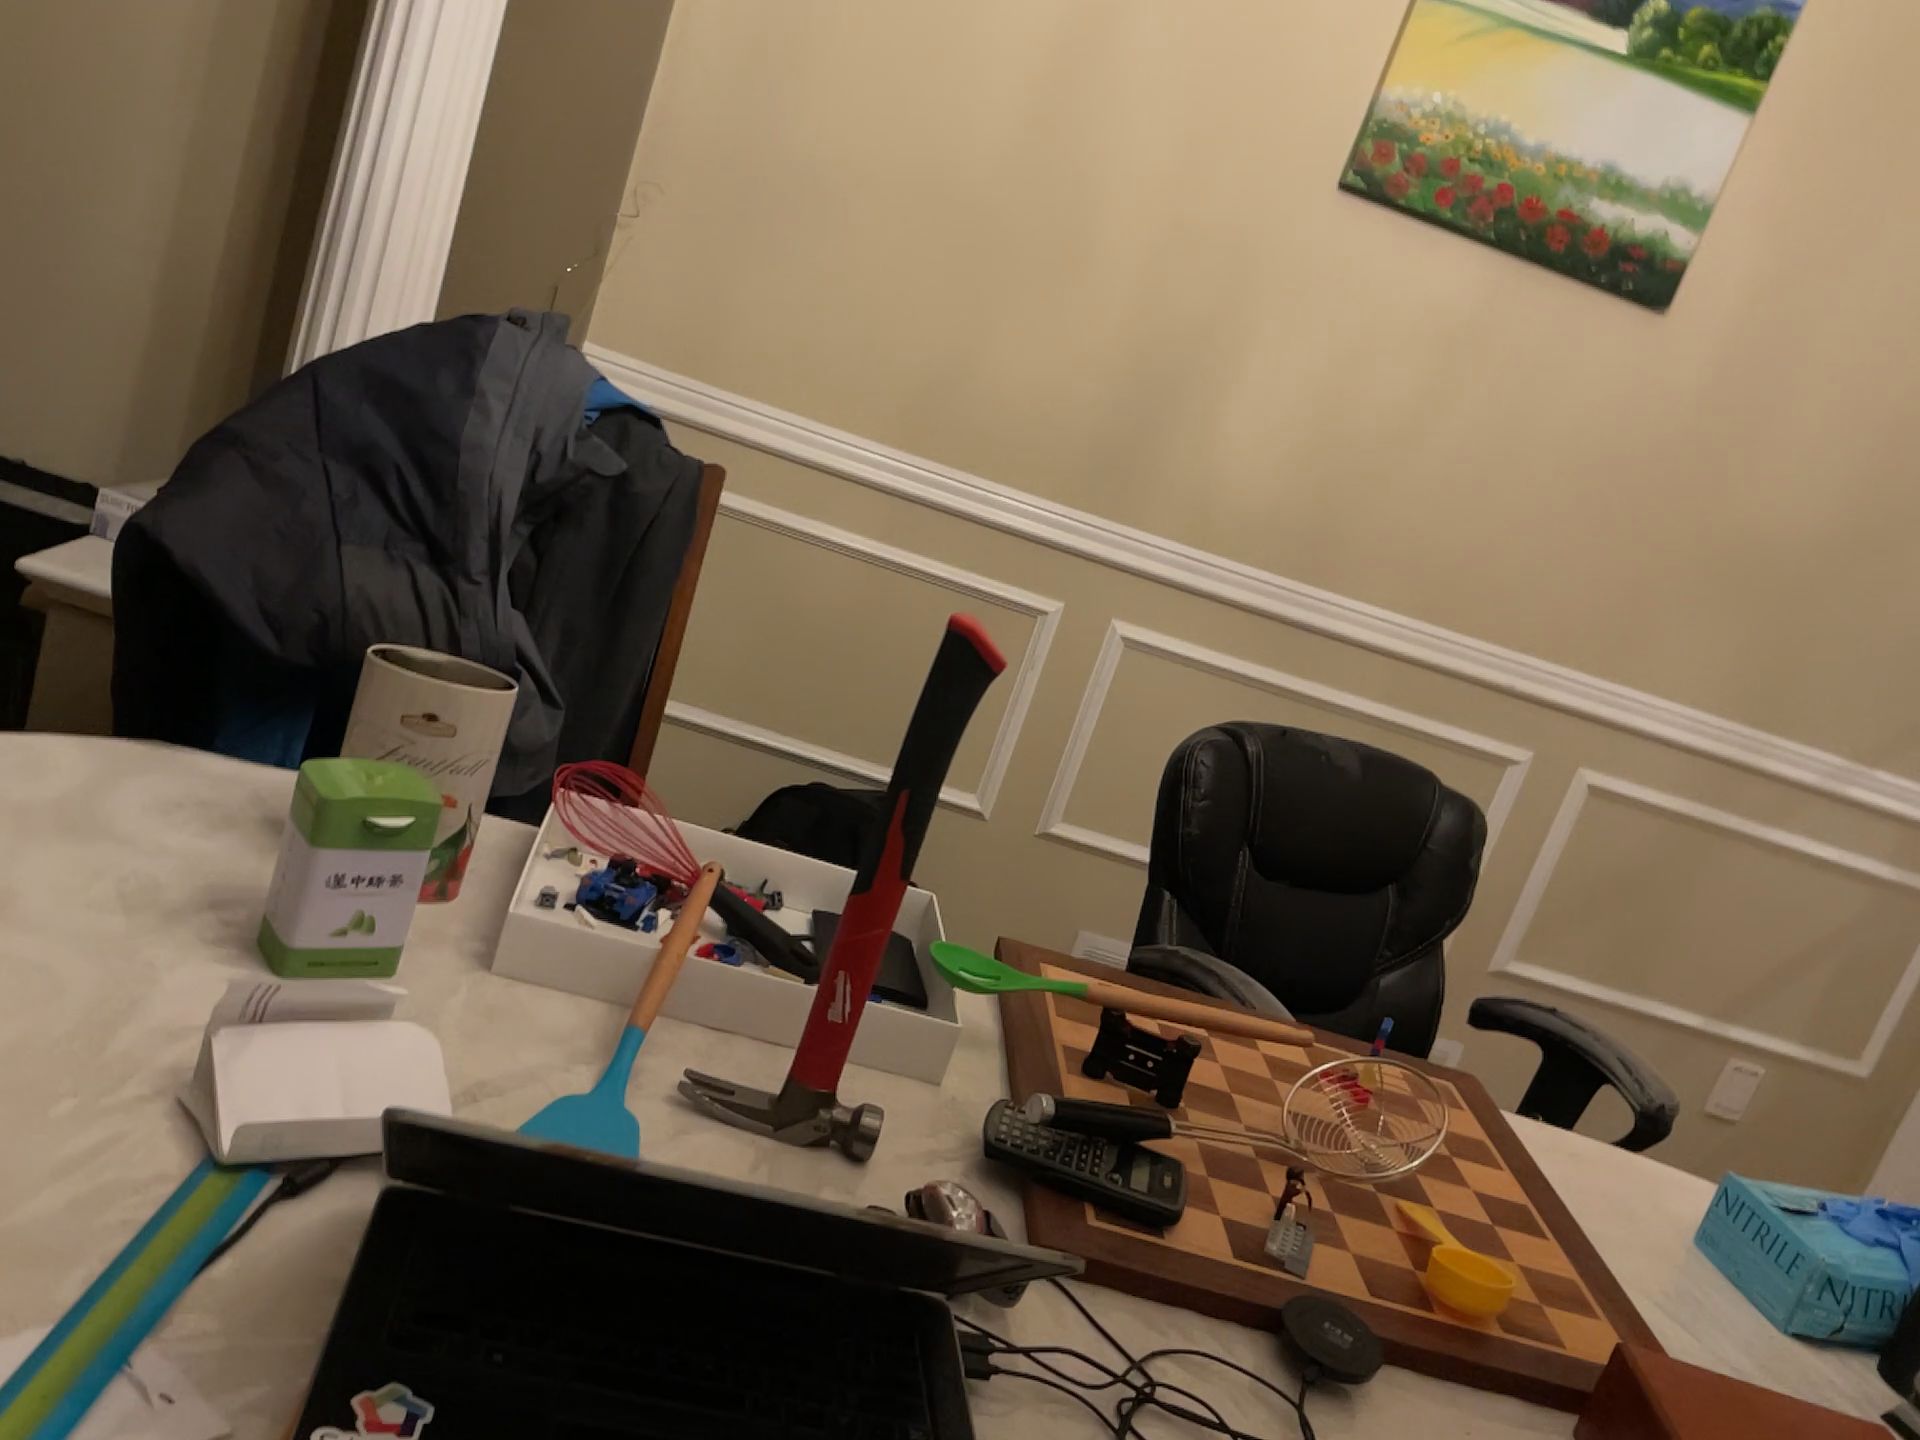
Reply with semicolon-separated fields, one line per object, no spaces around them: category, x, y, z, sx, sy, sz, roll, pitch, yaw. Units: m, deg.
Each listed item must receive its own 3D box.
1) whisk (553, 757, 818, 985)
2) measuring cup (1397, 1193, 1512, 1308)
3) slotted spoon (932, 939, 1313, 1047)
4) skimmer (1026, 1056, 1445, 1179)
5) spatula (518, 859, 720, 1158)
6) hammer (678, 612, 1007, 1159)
whisk;-0.235;0.129;1.358;0.296;0.073;0.073;37;37;14
measuring cup;0.358;0.394;1.187;0.062;0.029;0.156;14;3;-7
slotted spoon;0.129;0.226;1.288;0.314;0.031;0.070;11;12;6
skimmer;0.214;0.290;1.215;0.362;0.090;0.127;15;16;-30
spatula;-0.217;0.195;1.122;0.082;0.044;0.317;17;35;-1
hammer;-0.069;0.107;1.058;0.143;0.386;0.038;18;15;-4
